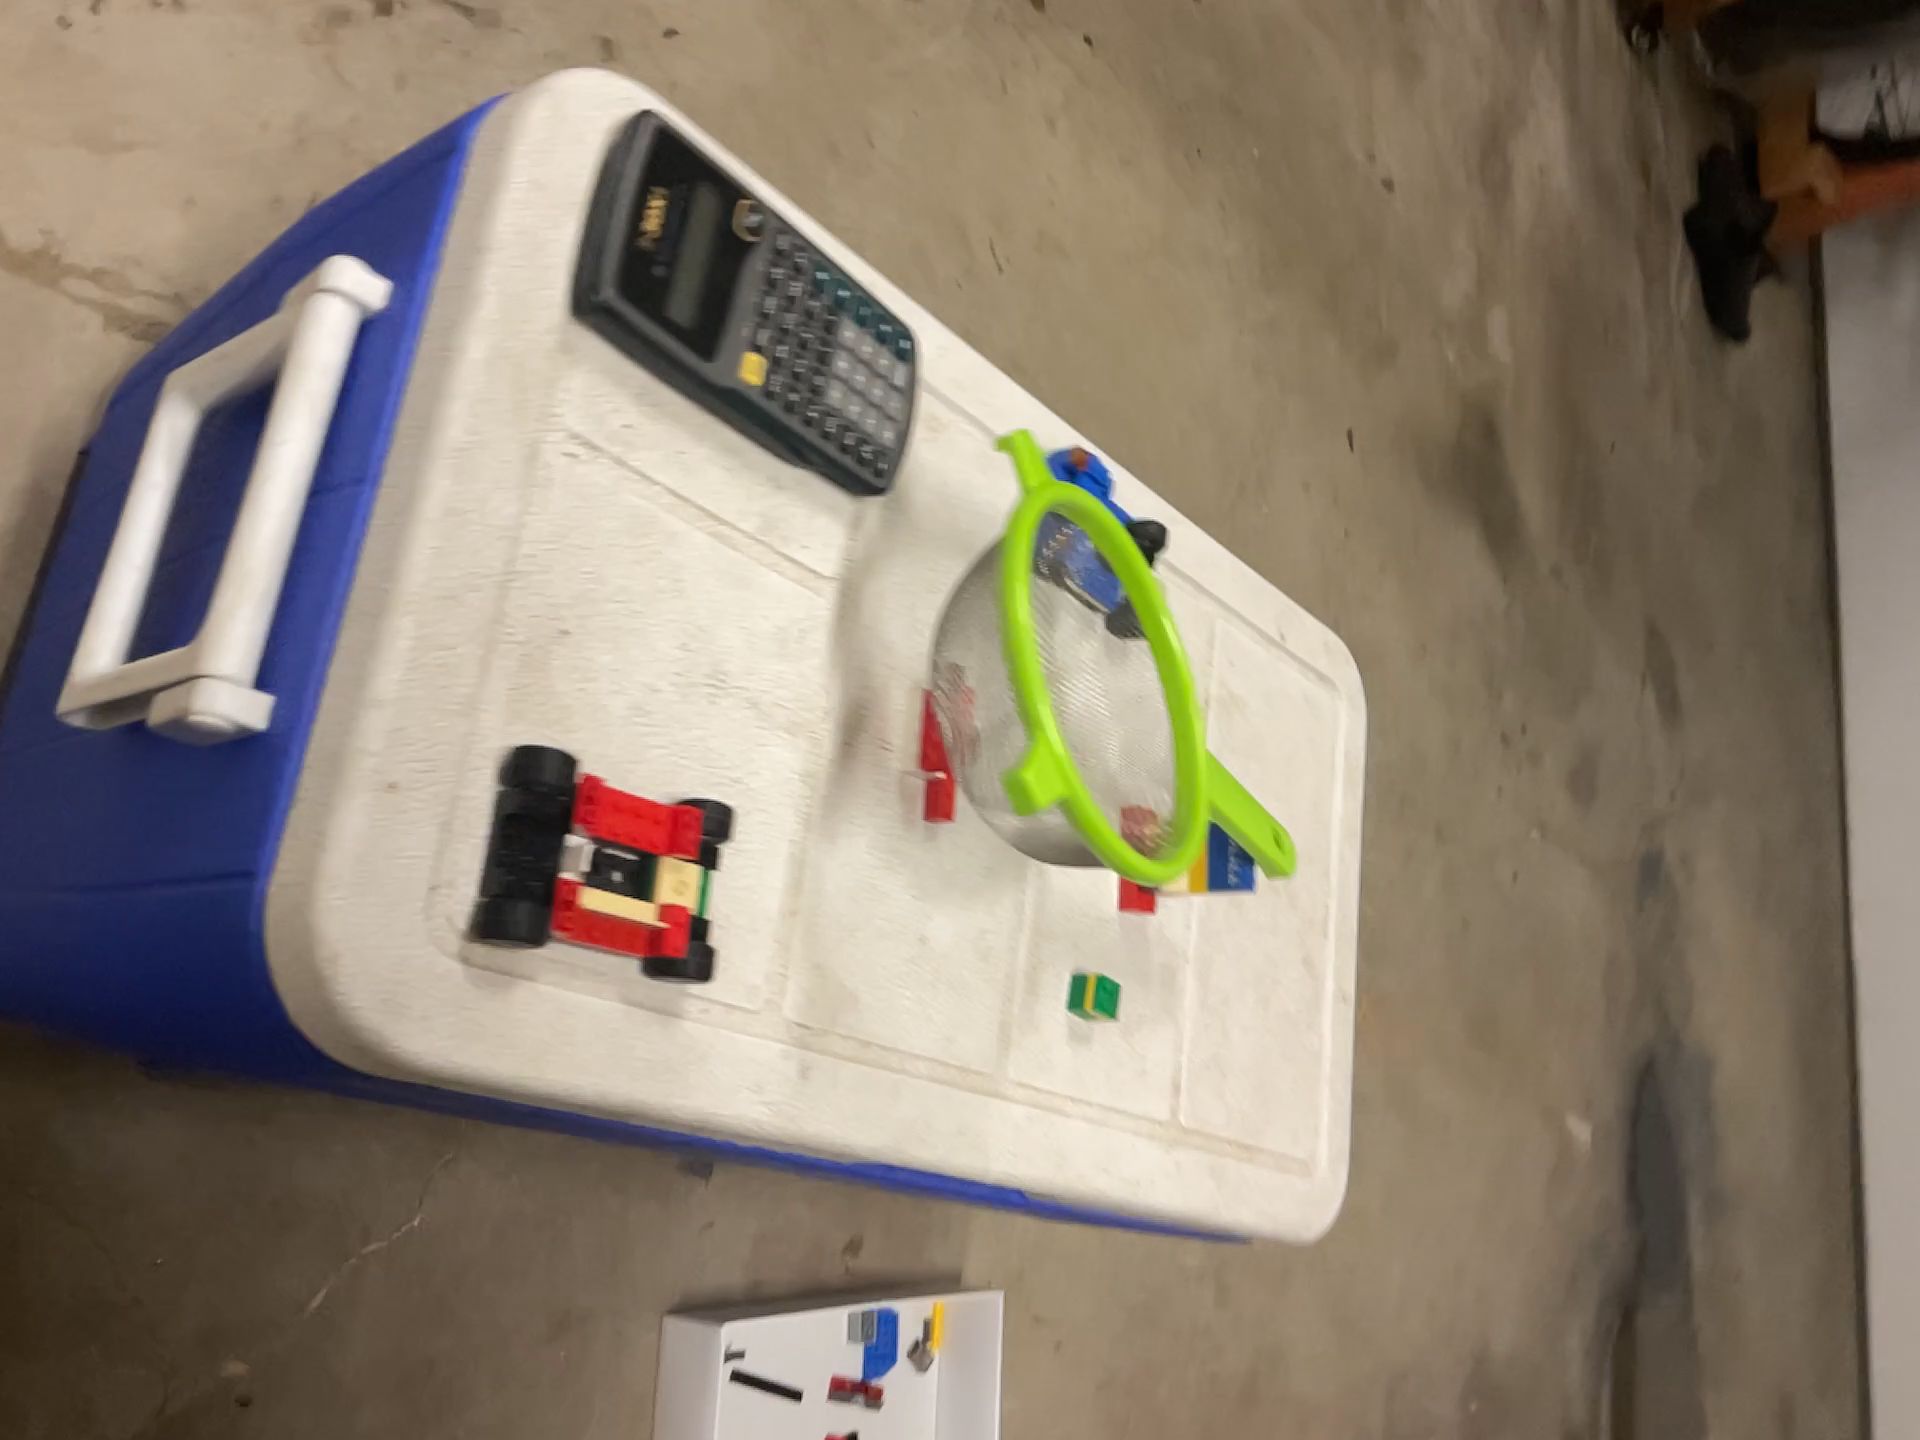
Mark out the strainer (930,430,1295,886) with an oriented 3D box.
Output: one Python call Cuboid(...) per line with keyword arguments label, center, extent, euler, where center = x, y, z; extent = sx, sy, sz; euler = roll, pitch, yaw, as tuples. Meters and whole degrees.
Cuboid(label="strainer", center=(0.058, 0.015, 0.629), extent=(0.256, 0.069, 0.152), euler=(40, 41, -49))
